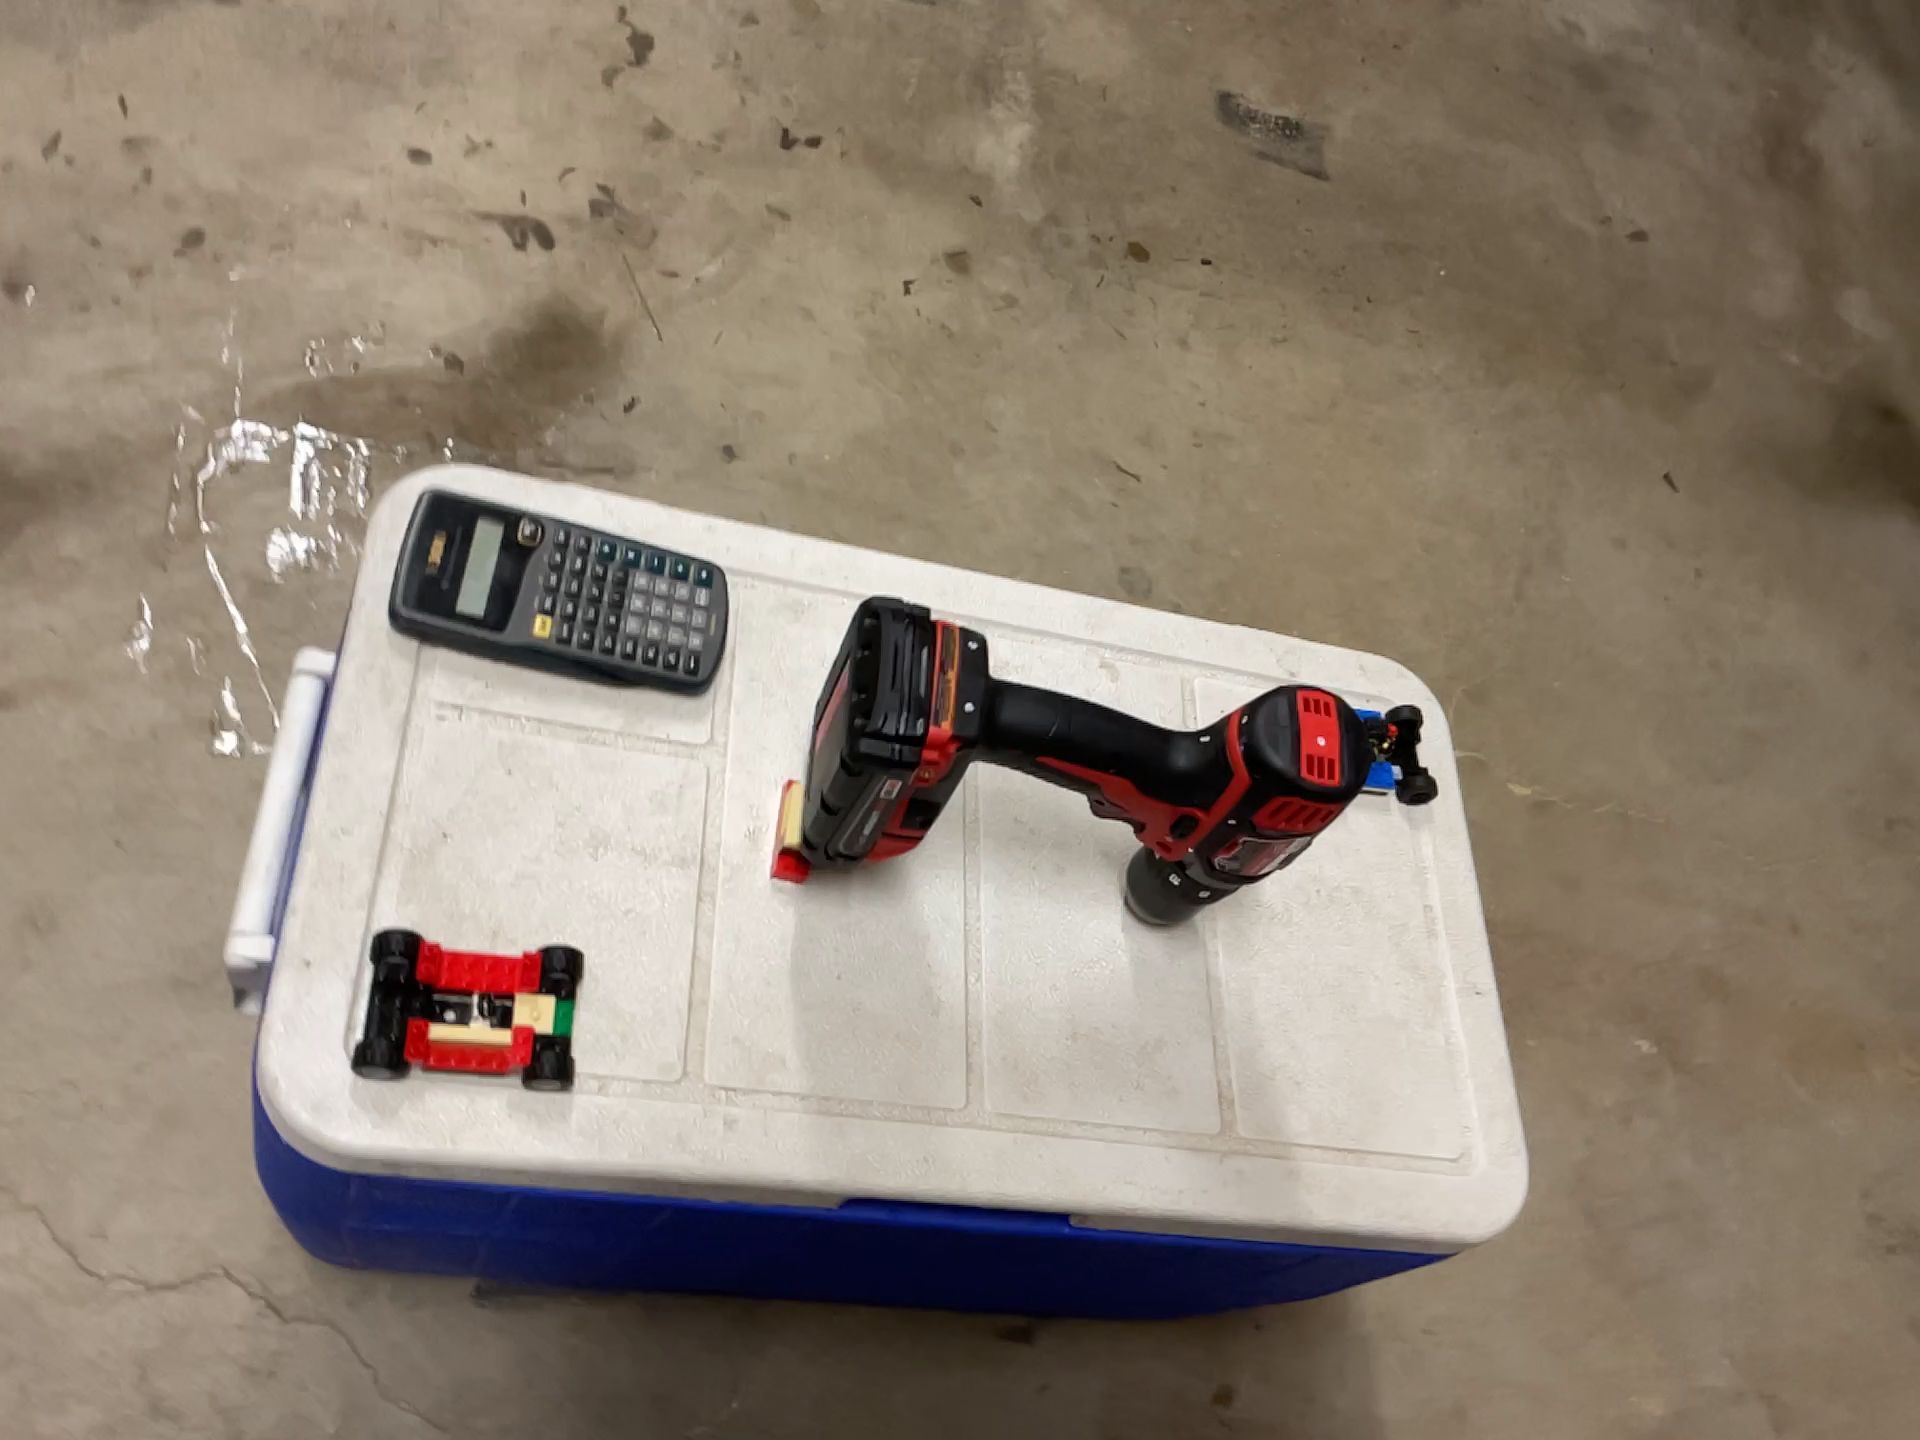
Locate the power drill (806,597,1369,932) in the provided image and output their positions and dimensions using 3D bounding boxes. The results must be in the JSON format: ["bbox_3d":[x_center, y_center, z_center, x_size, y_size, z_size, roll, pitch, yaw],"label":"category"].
[{"bbox_3d":[0.048,0.035,0.727,0.226,0.187,0.080,11,58,-12],"label":"power drill"}]
